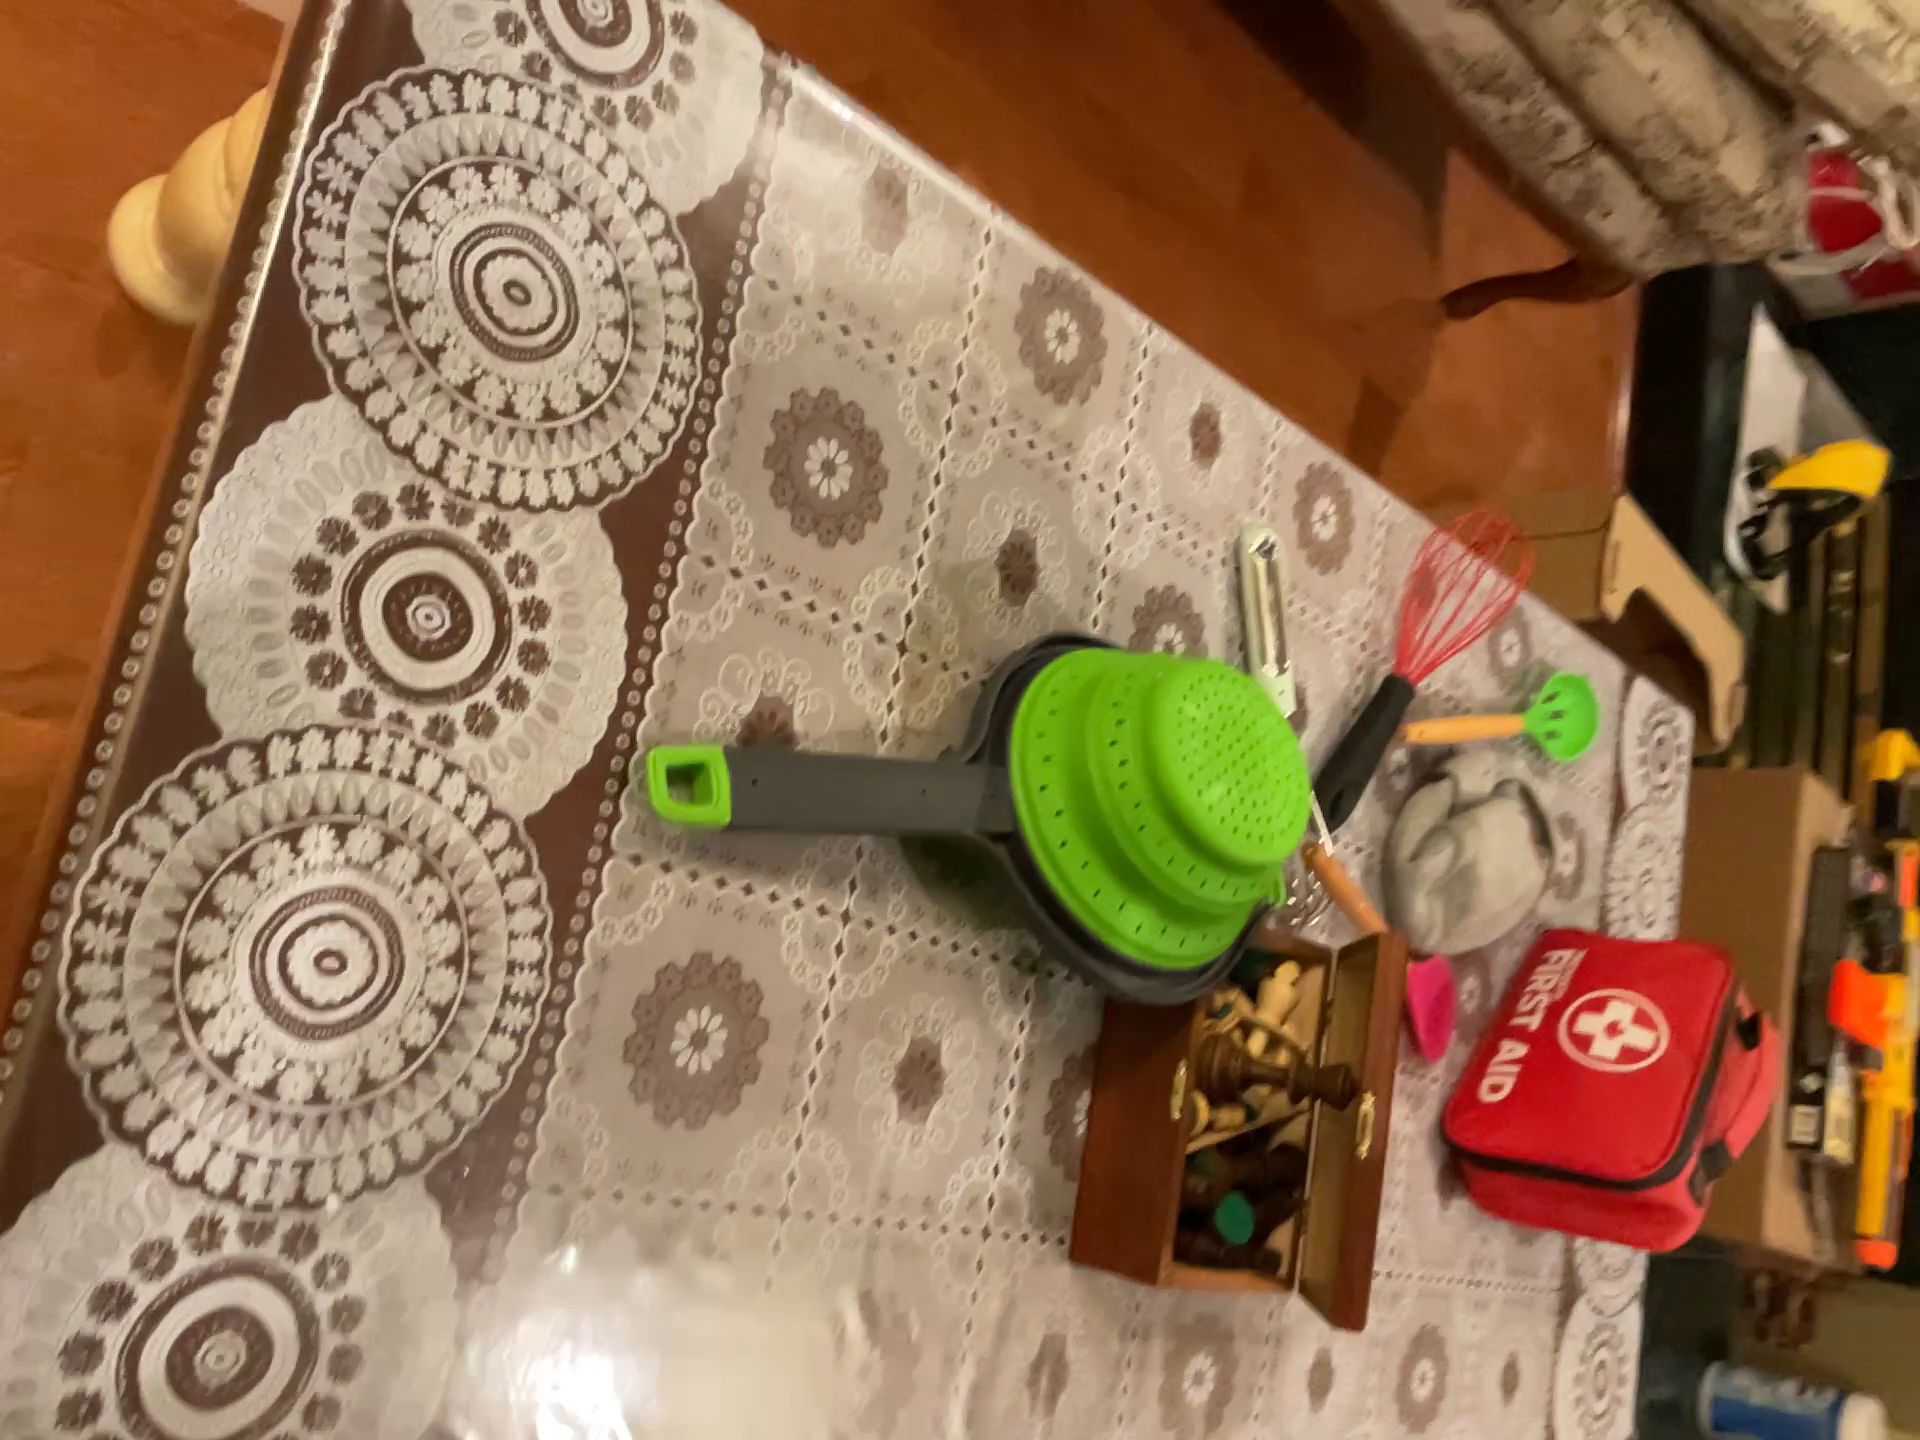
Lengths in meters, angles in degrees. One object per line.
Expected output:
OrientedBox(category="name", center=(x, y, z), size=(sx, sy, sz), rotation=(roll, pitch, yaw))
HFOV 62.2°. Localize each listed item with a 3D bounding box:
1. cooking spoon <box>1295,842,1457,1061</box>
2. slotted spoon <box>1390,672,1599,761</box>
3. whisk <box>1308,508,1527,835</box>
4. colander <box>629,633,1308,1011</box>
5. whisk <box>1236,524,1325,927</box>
OrientedBox(category="cooking spoon", center=(0.274, 0.148, 1.022), size=(0.318, 0.017, 0.069), rotation=(44, 58, -48))
OrientedBox(category="slotted spoon", center=(0.392, 0.003, 1.161), size=(0.313, 0.031, 0.070), rotation=(-4, 92, -48))
OrientedBox(category="whisk", center=(0.305, -0.036, 1.073), size=(0.296, 0.073, 0.073), rotation=(-52, 130, -25))
OrientedBox(category="colander", center=(0.042, 0.029, 0.749), size=(0.396, 0.094, 0.205), rotation=(6, 65, -38))
OrientedBox(category="whisk", center=(0.187, 0.004, 0.967), size=(0.058, 0.059, 0.246), rotation=(-4, 89, -87))
